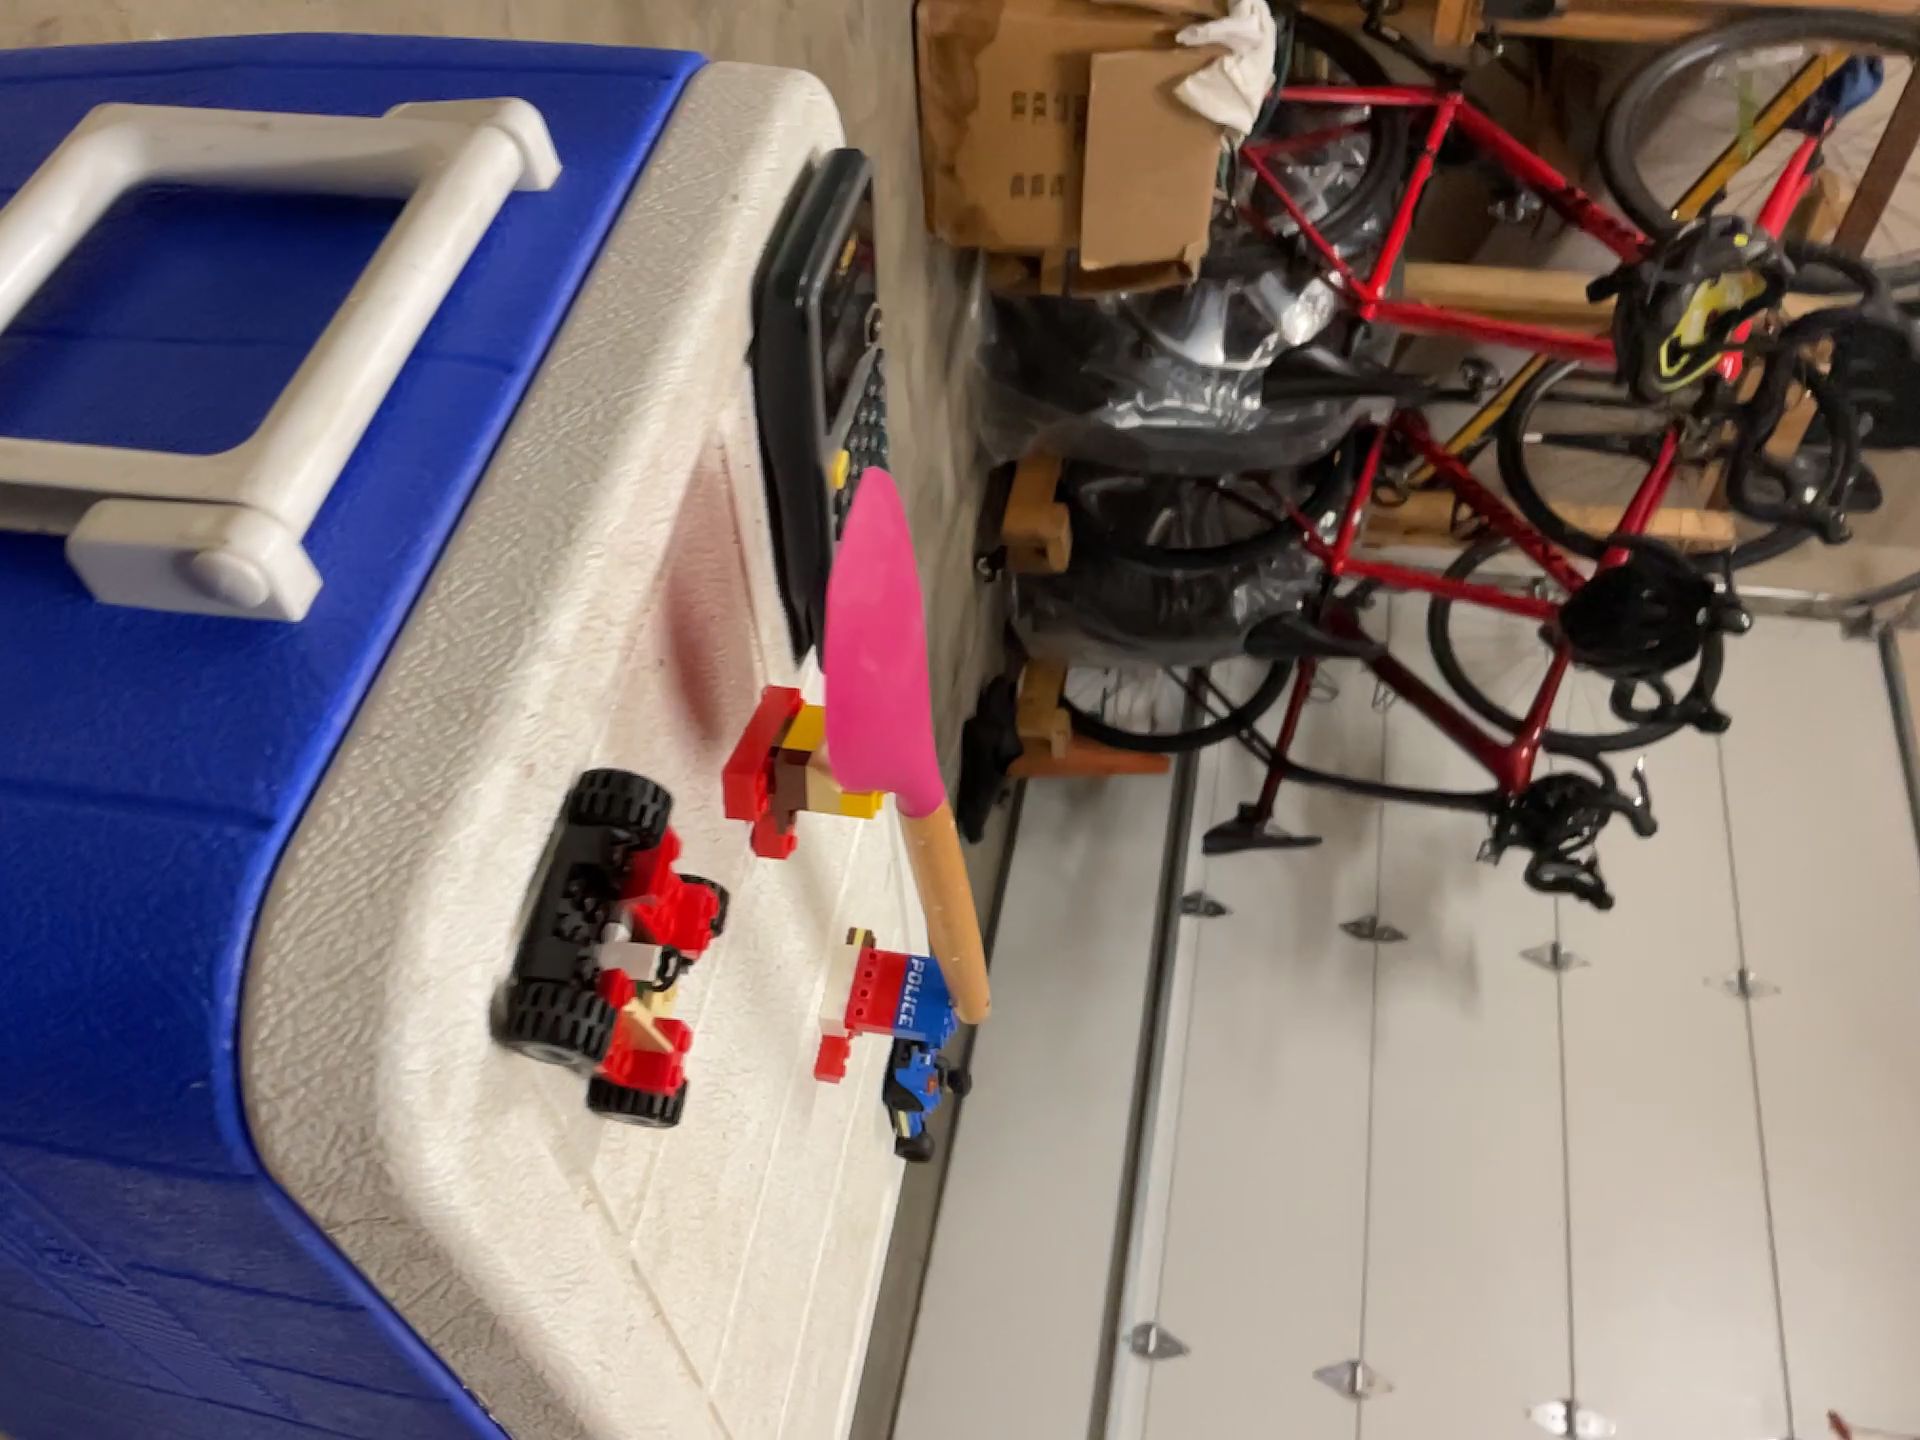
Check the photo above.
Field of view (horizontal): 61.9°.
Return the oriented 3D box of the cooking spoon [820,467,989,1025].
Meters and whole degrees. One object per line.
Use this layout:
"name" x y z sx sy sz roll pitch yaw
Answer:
"cooking spoon" -0.010 0.035 0.496 0.318 0.017 0.069 80 23 -60
